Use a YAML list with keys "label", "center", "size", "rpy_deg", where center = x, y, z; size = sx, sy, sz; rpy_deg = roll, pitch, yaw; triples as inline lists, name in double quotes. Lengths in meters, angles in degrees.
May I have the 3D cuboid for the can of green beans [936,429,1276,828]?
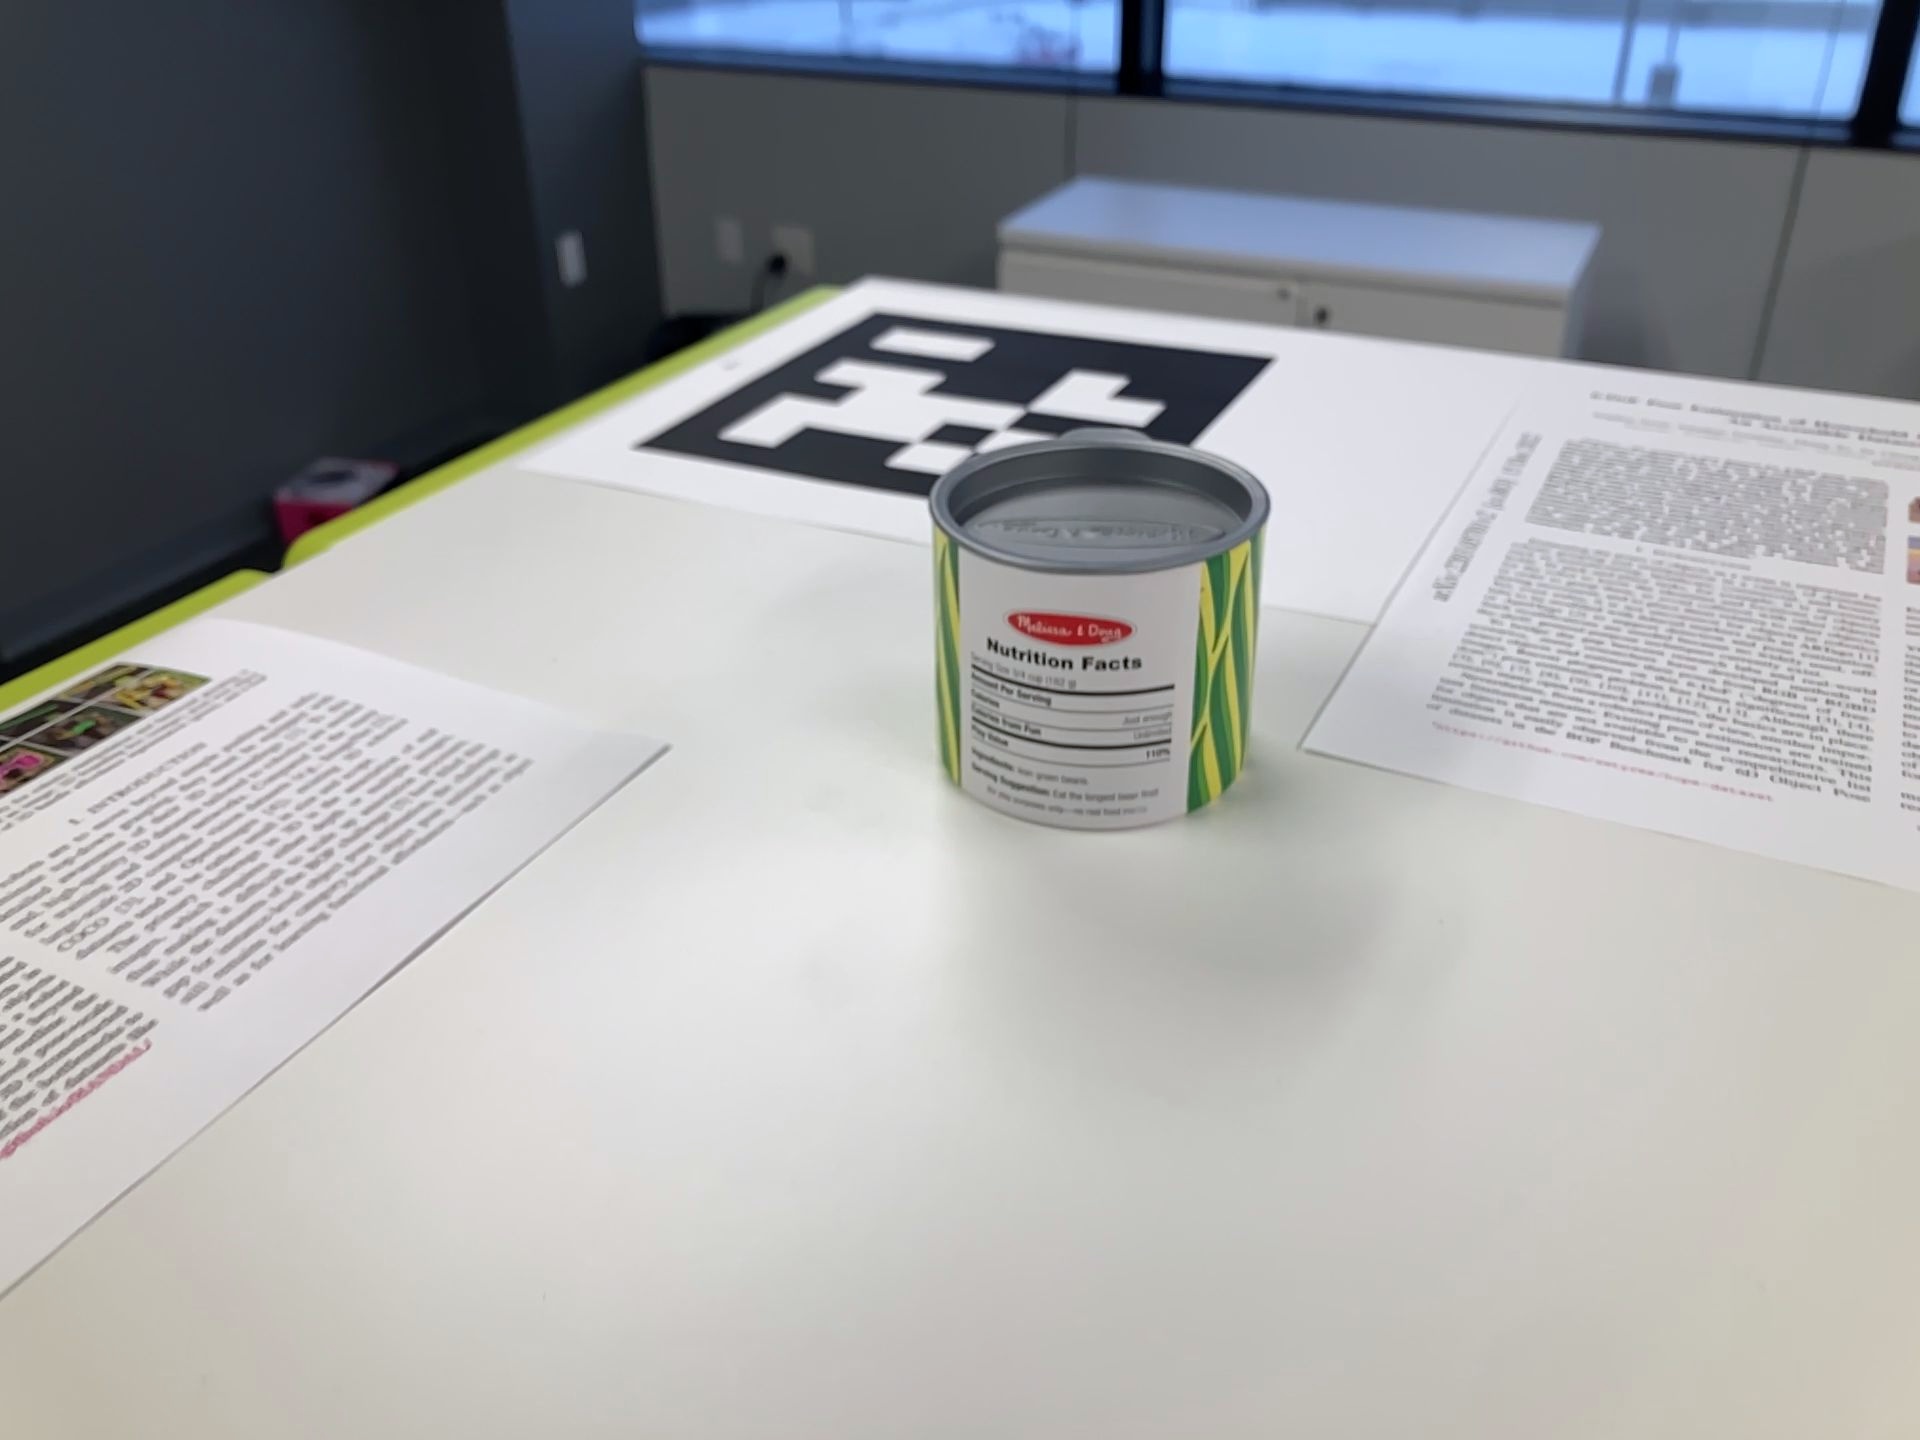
- label: "can of green beans"
  center: [0.029, -0.019, 0.328]
  size: [0.071, 0.058, 0.071]
  rpy_deg: [-1, 31, 0]
